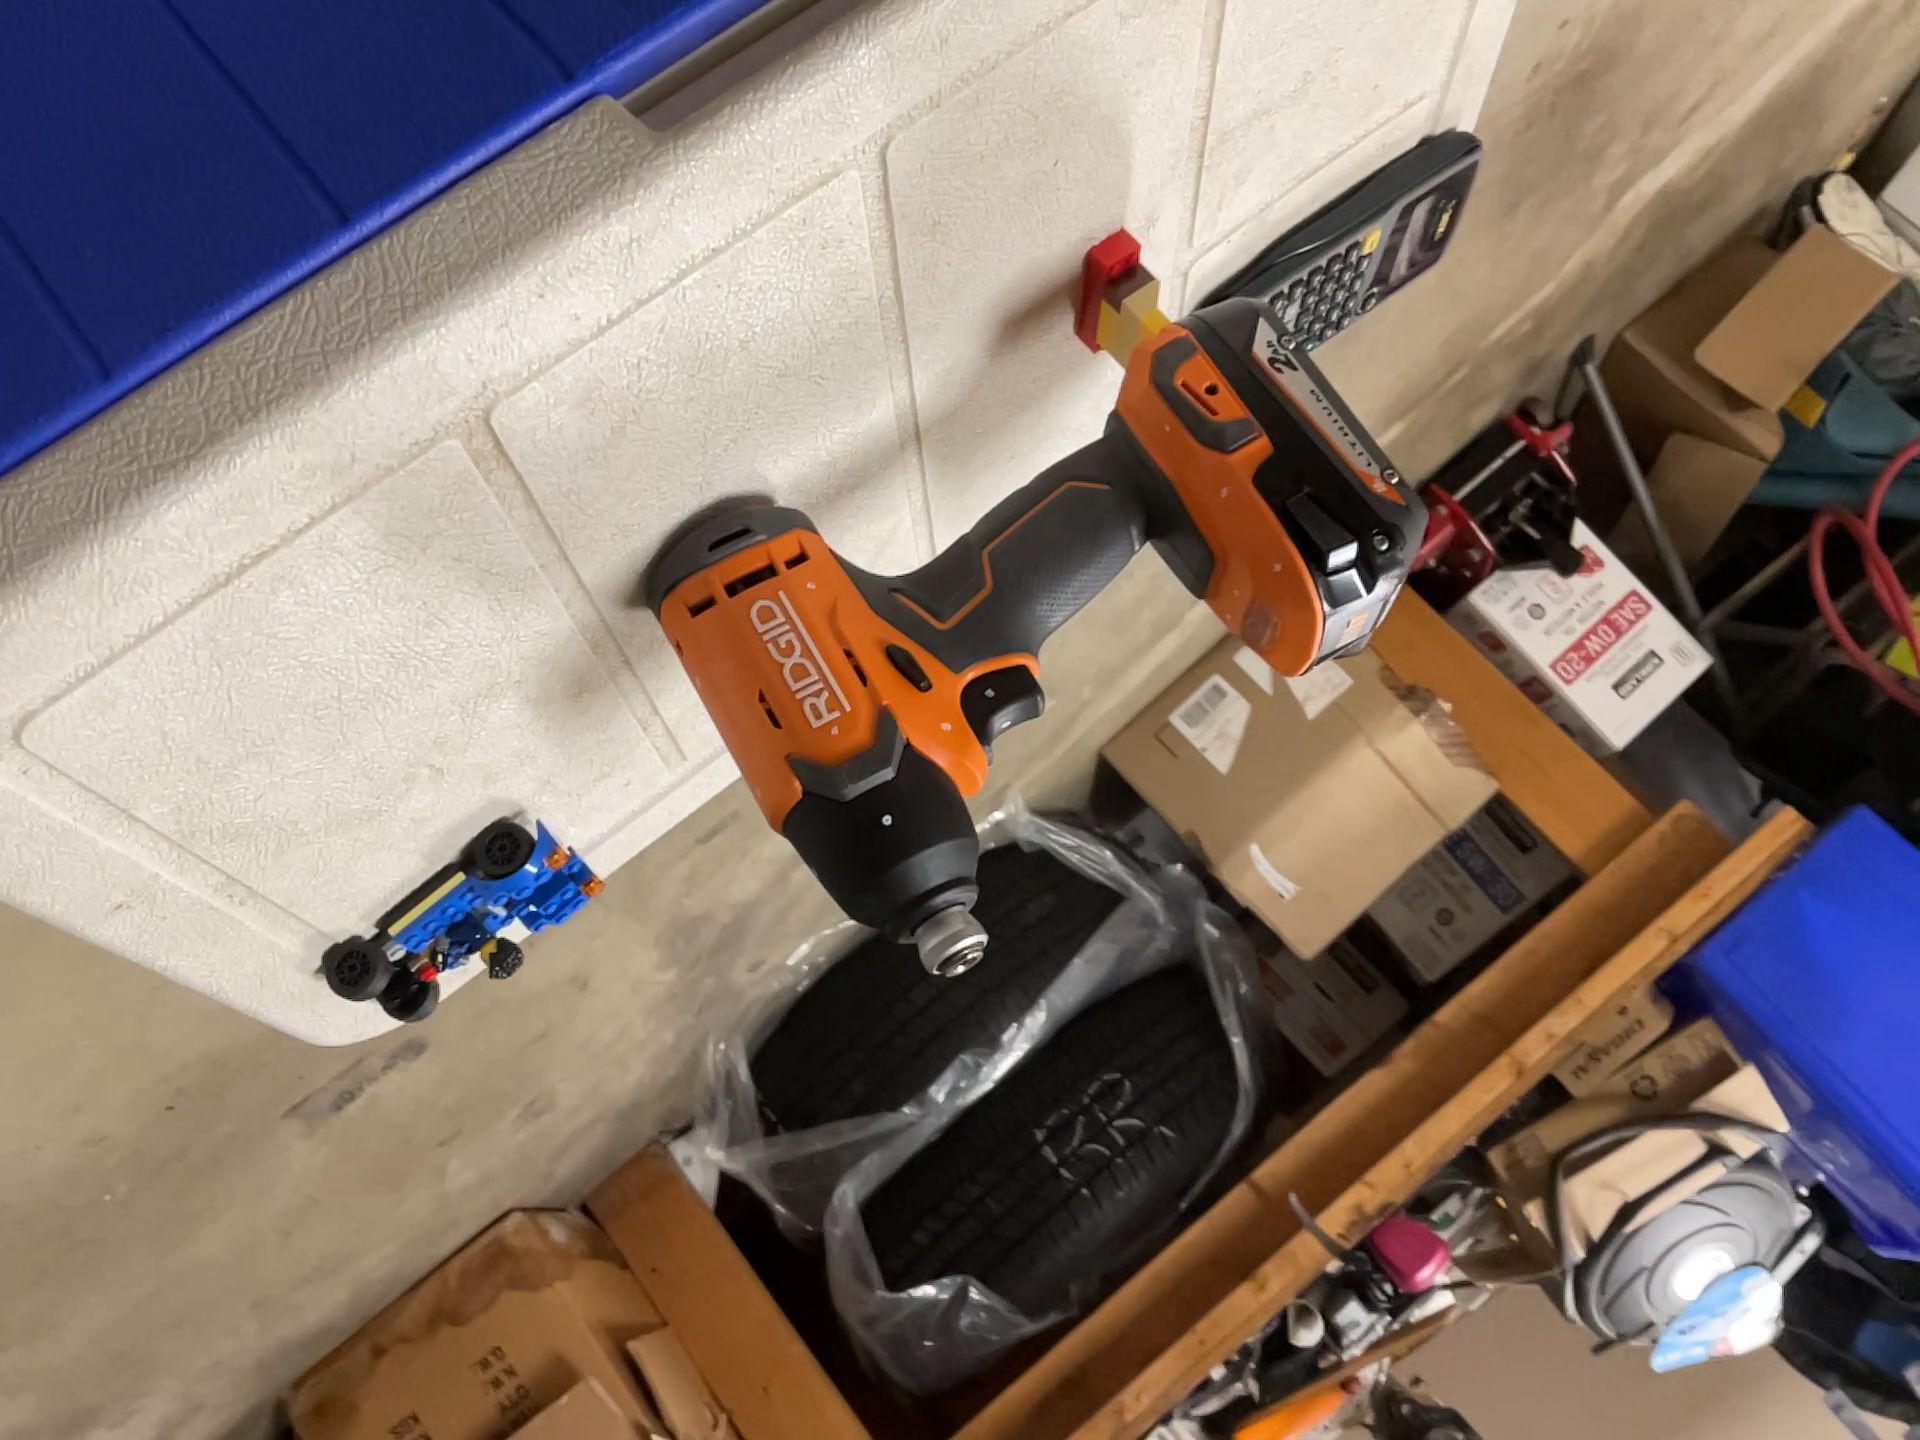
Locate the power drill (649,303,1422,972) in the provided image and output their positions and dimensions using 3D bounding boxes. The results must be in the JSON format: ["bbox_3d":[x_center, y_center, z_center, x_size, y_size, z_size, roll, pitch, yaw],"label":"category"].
[{"bbox_3d":[0.032,-0.028,0.526,0.226,0.164,0.084,-26,159,-11],"label":"power drill"}]
